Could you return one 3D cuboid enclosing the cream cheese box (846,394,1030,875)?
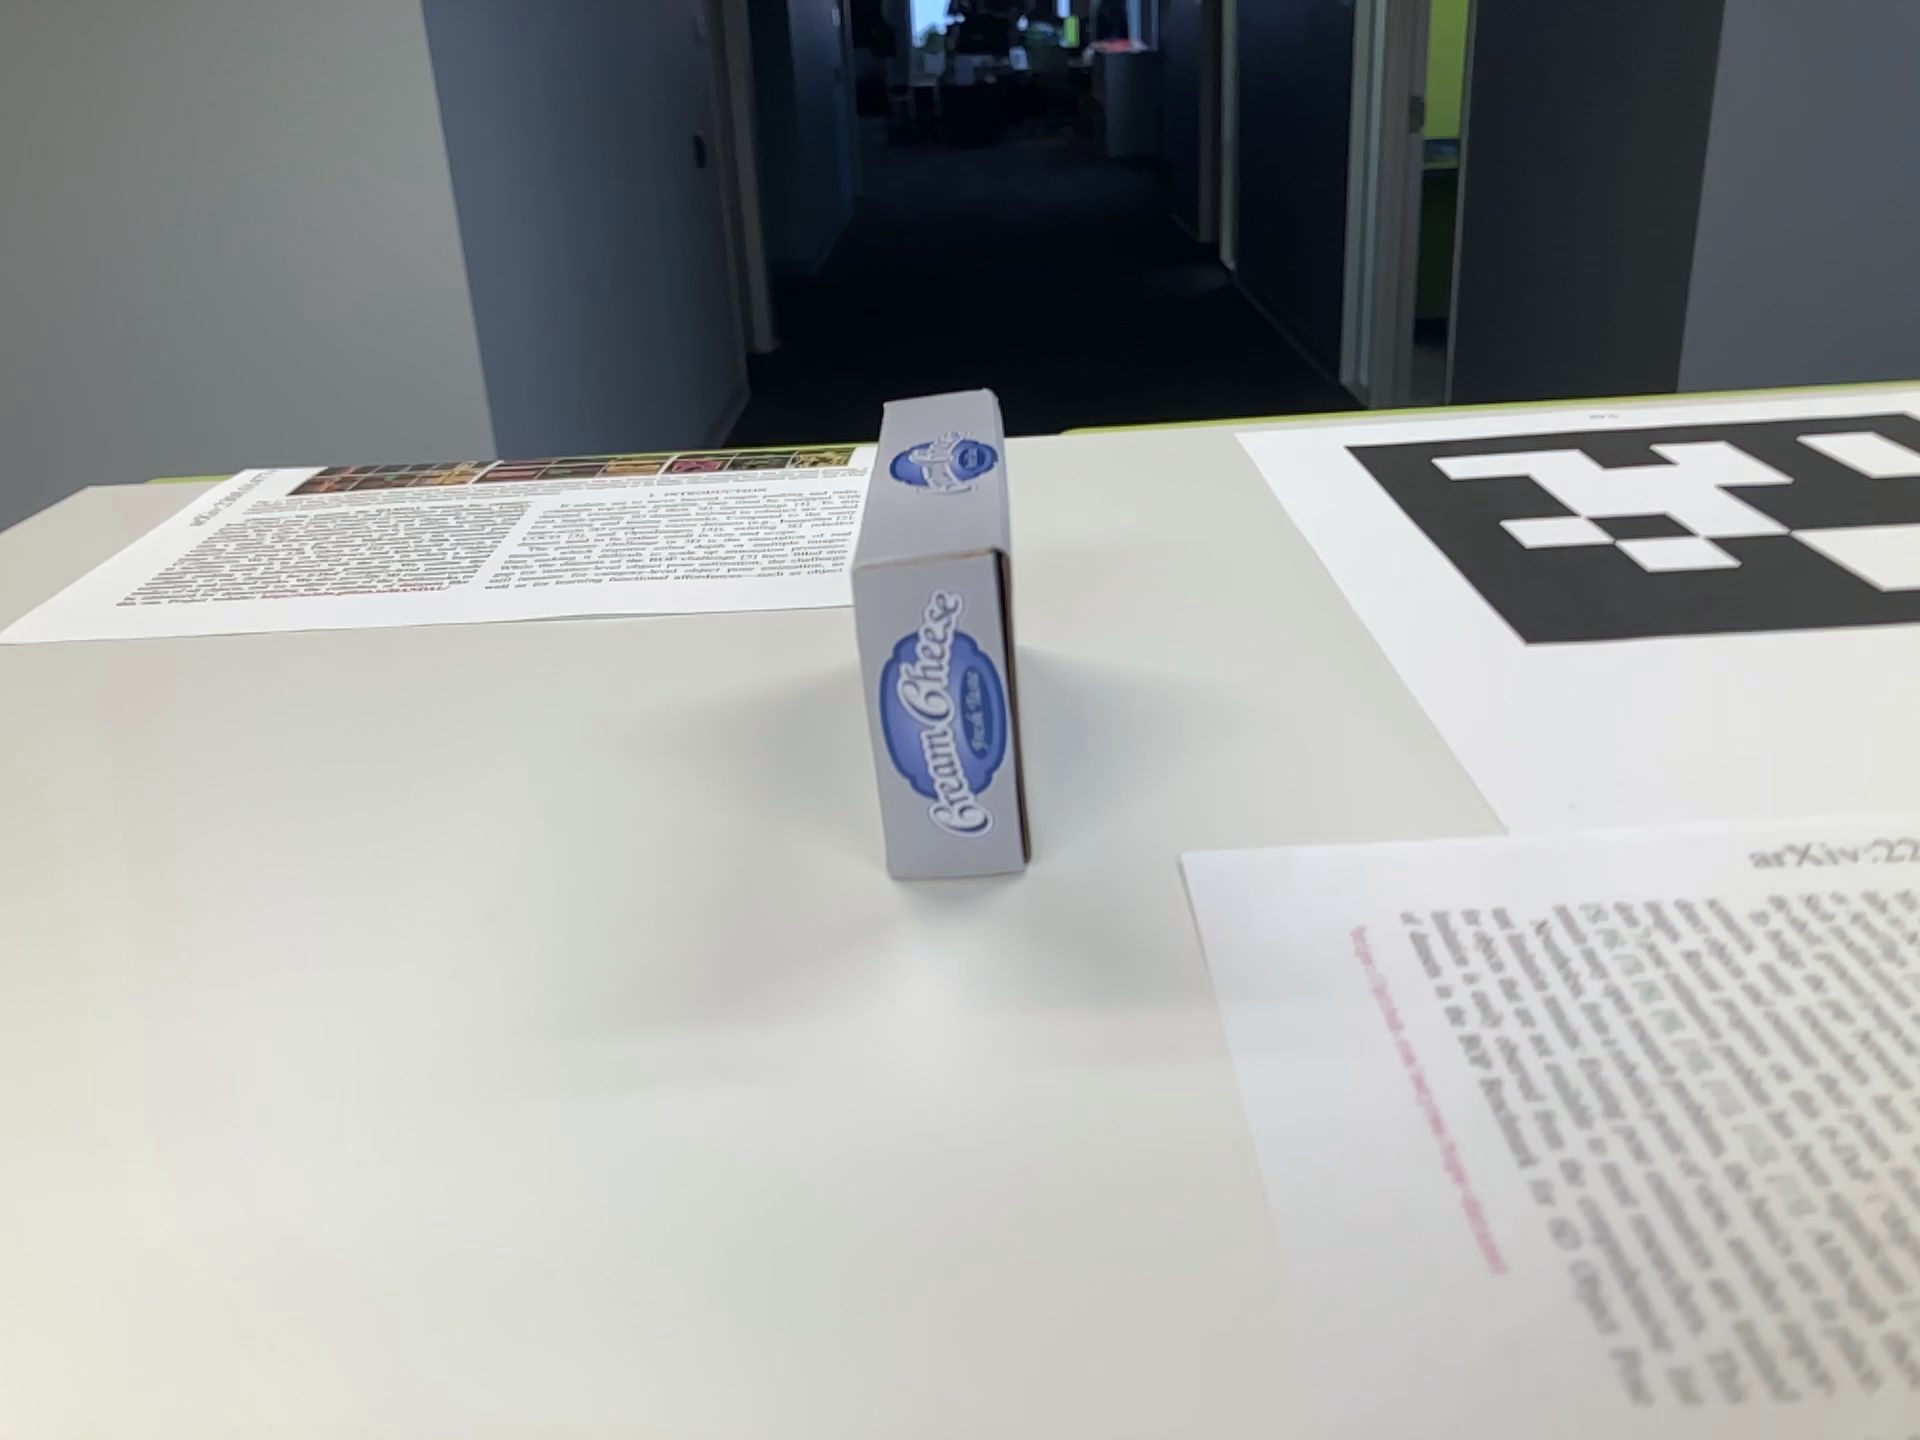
[{"bbox_3d":[-0.002,-0.020,0.280,0.024,0.053,0.104,-5,23,3],"label":"cream cheese box"}]
